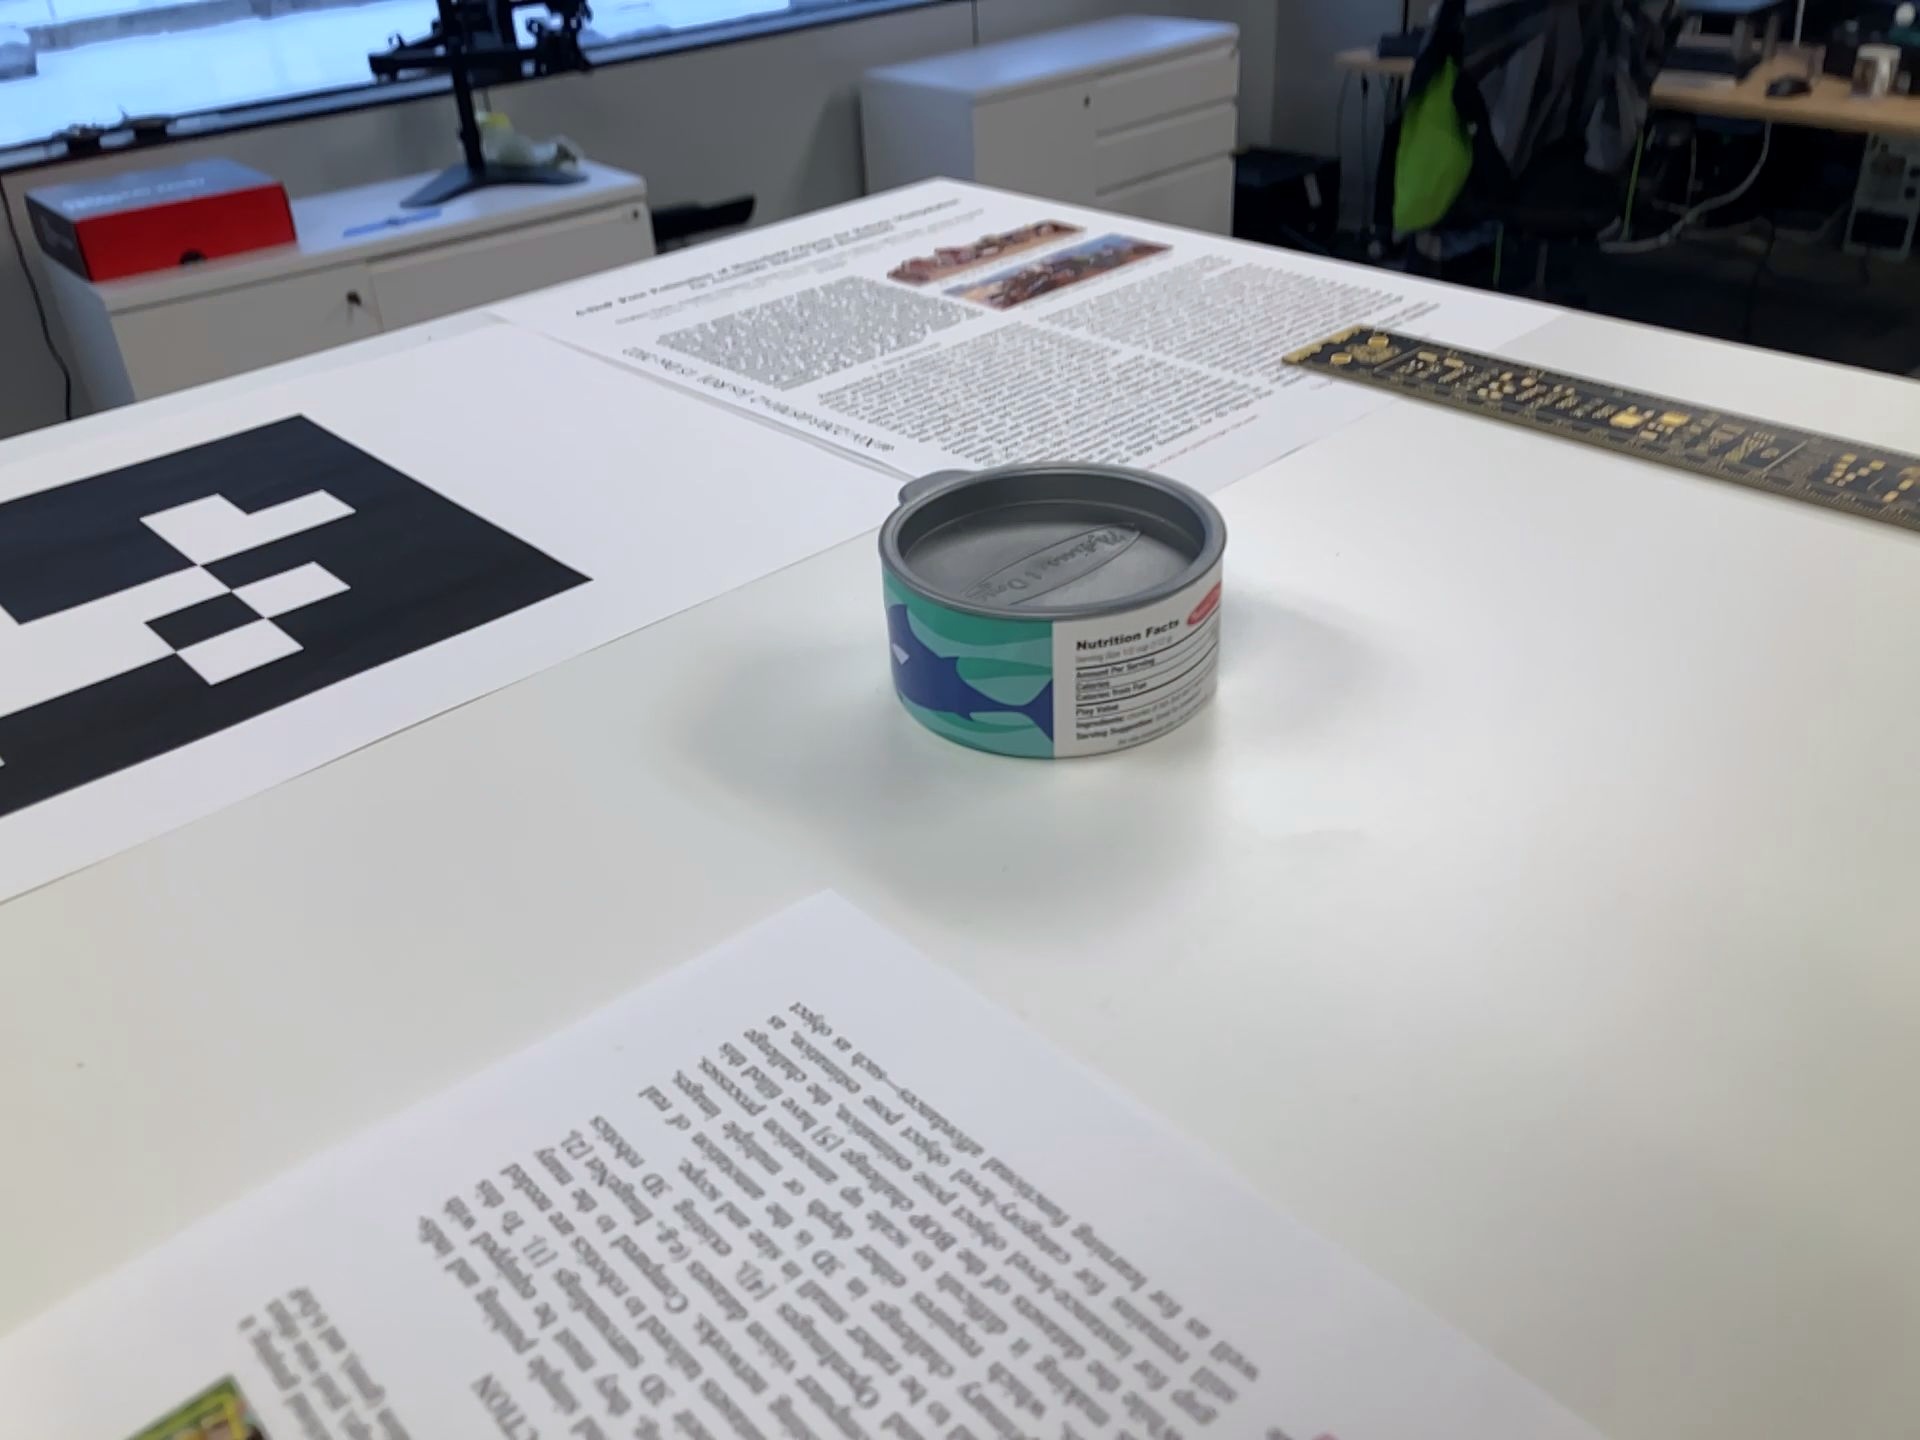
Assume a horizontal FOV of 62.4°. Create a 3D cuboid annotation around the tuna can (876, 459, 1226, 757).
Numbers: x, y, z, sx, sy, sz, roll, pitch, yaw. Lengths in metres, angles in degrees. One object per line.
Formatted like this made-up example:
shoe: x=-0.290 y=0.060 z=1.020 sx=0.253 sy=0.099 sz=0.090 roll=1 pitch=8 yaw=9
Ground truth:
tuna can: x=0.016 y=-0.024 z=0.310 sx=0.071 sy=0.033 sz=0.071 roll=-3 pitch=32 yaw=2
